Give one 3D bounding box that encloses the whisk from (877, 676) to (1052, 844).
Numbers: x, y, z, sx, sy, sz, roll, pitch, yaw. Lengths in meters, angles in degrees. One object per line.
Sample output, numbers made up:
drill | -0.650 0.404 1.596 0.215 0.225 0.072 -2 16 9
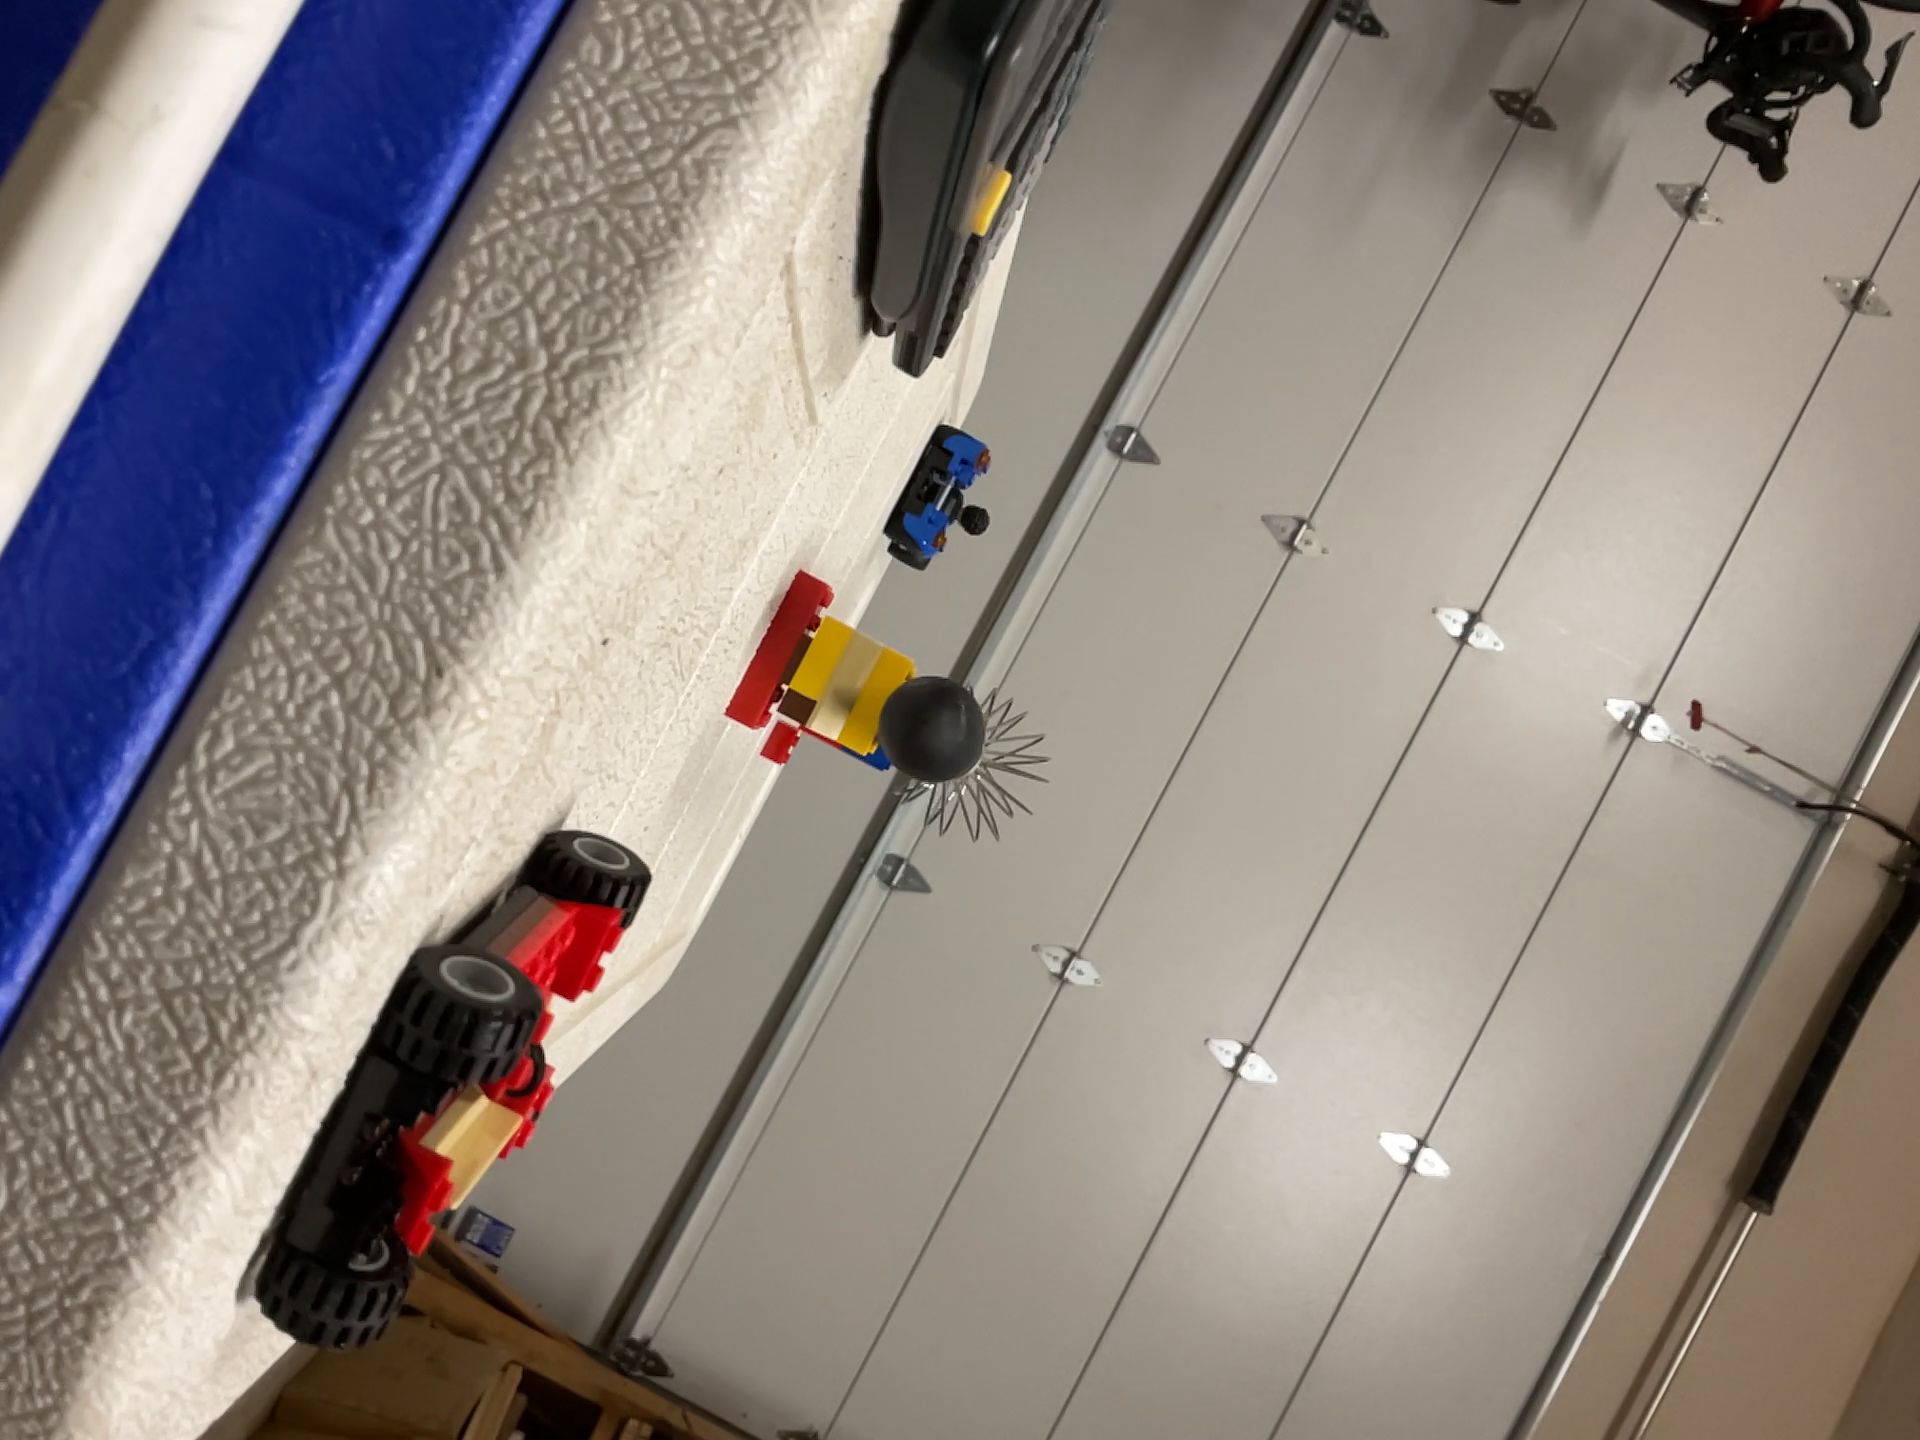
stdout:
whisk | -0.001 0.012 0.560 0.070 0.070 0.284 -58 175 -1
